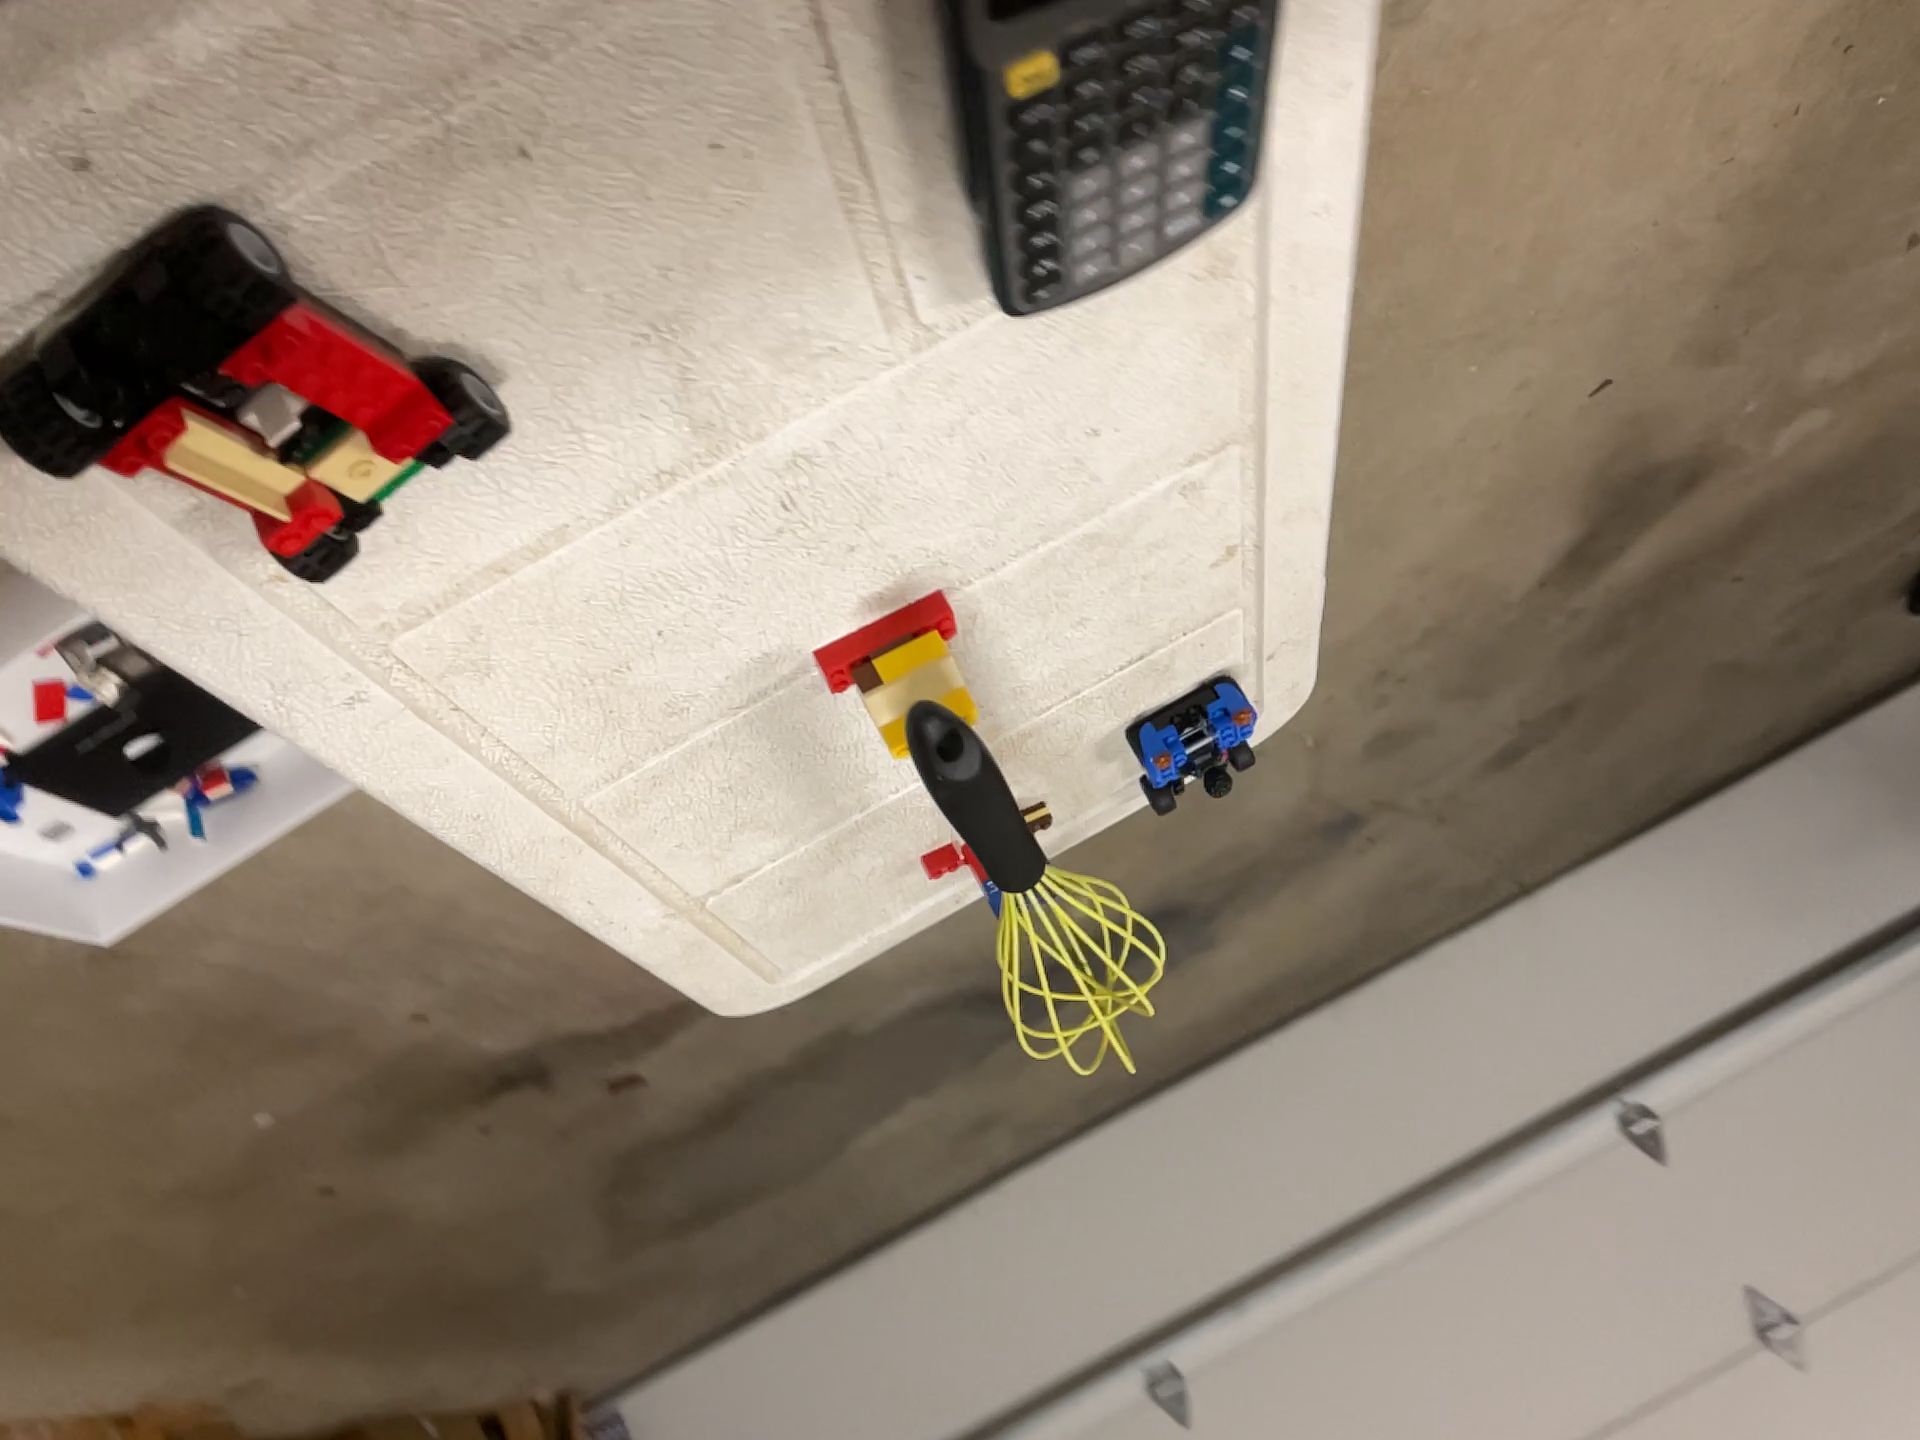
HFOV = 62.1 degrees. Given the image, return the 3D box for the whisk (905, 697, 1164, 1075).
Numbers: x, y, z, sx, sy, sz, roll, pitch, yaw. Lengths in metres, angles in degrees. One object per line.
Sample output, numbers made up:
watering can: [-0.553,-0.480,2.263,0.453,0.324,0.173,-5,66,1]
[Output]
whisk: [0.027,0.067,0.617,0.311,0.067,0.080,60,44,-58]
